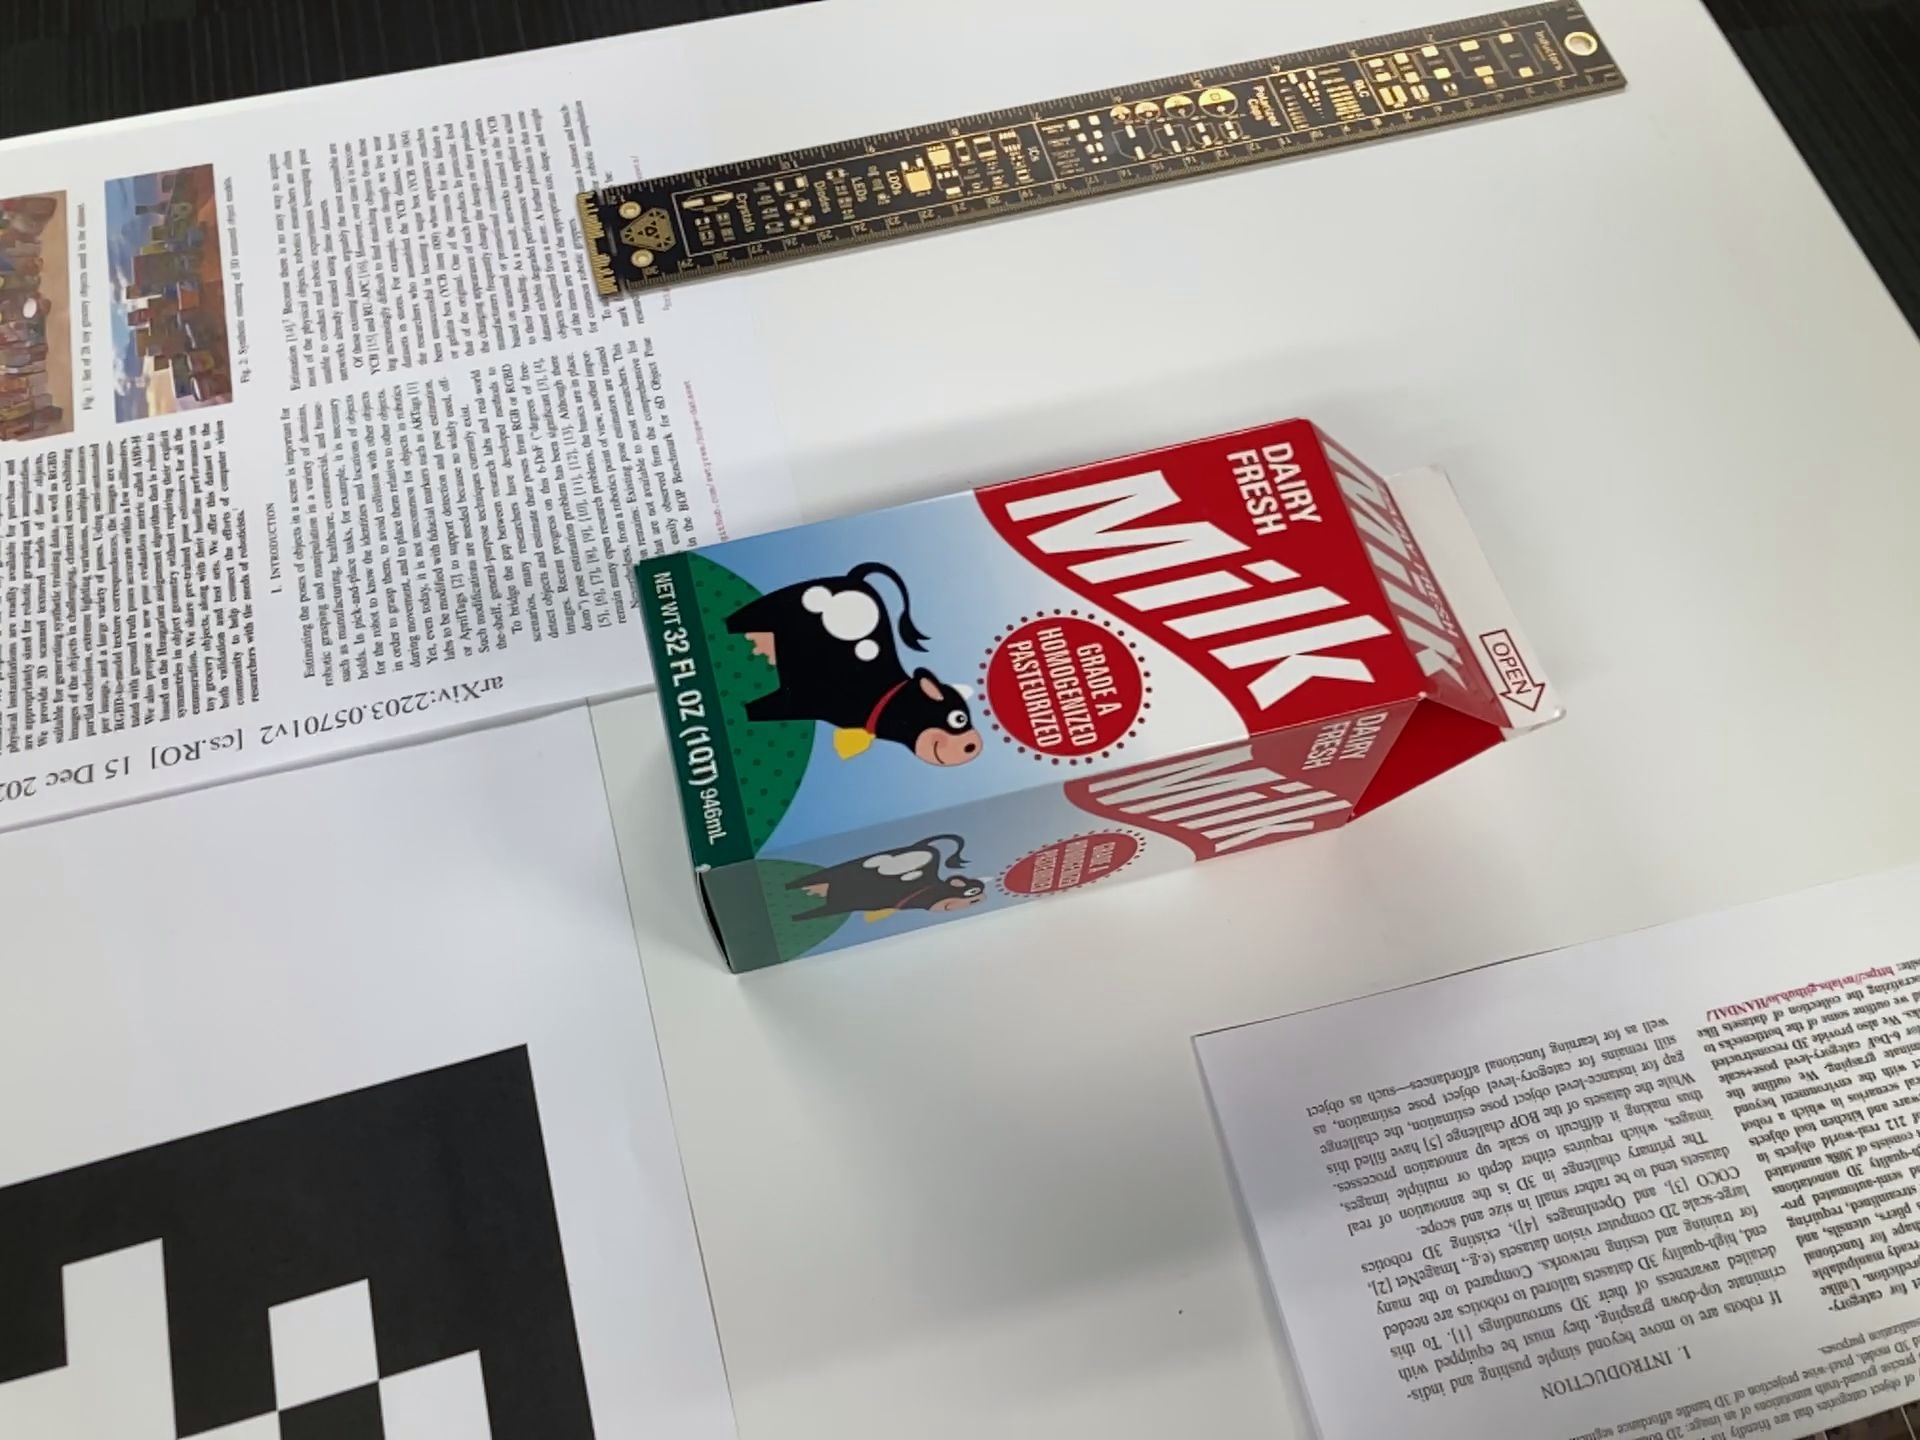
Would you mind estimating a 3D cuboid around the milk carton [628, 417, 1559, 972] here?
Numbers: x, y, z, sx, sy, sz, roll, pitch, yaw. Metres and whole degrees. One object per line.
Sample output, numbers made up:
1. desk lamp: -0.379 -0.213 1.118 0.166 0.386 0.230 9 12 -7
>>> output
1. milk carton: 0.031 -0.009 0.352 0.190 0.073 0.072 -13 65 -8
